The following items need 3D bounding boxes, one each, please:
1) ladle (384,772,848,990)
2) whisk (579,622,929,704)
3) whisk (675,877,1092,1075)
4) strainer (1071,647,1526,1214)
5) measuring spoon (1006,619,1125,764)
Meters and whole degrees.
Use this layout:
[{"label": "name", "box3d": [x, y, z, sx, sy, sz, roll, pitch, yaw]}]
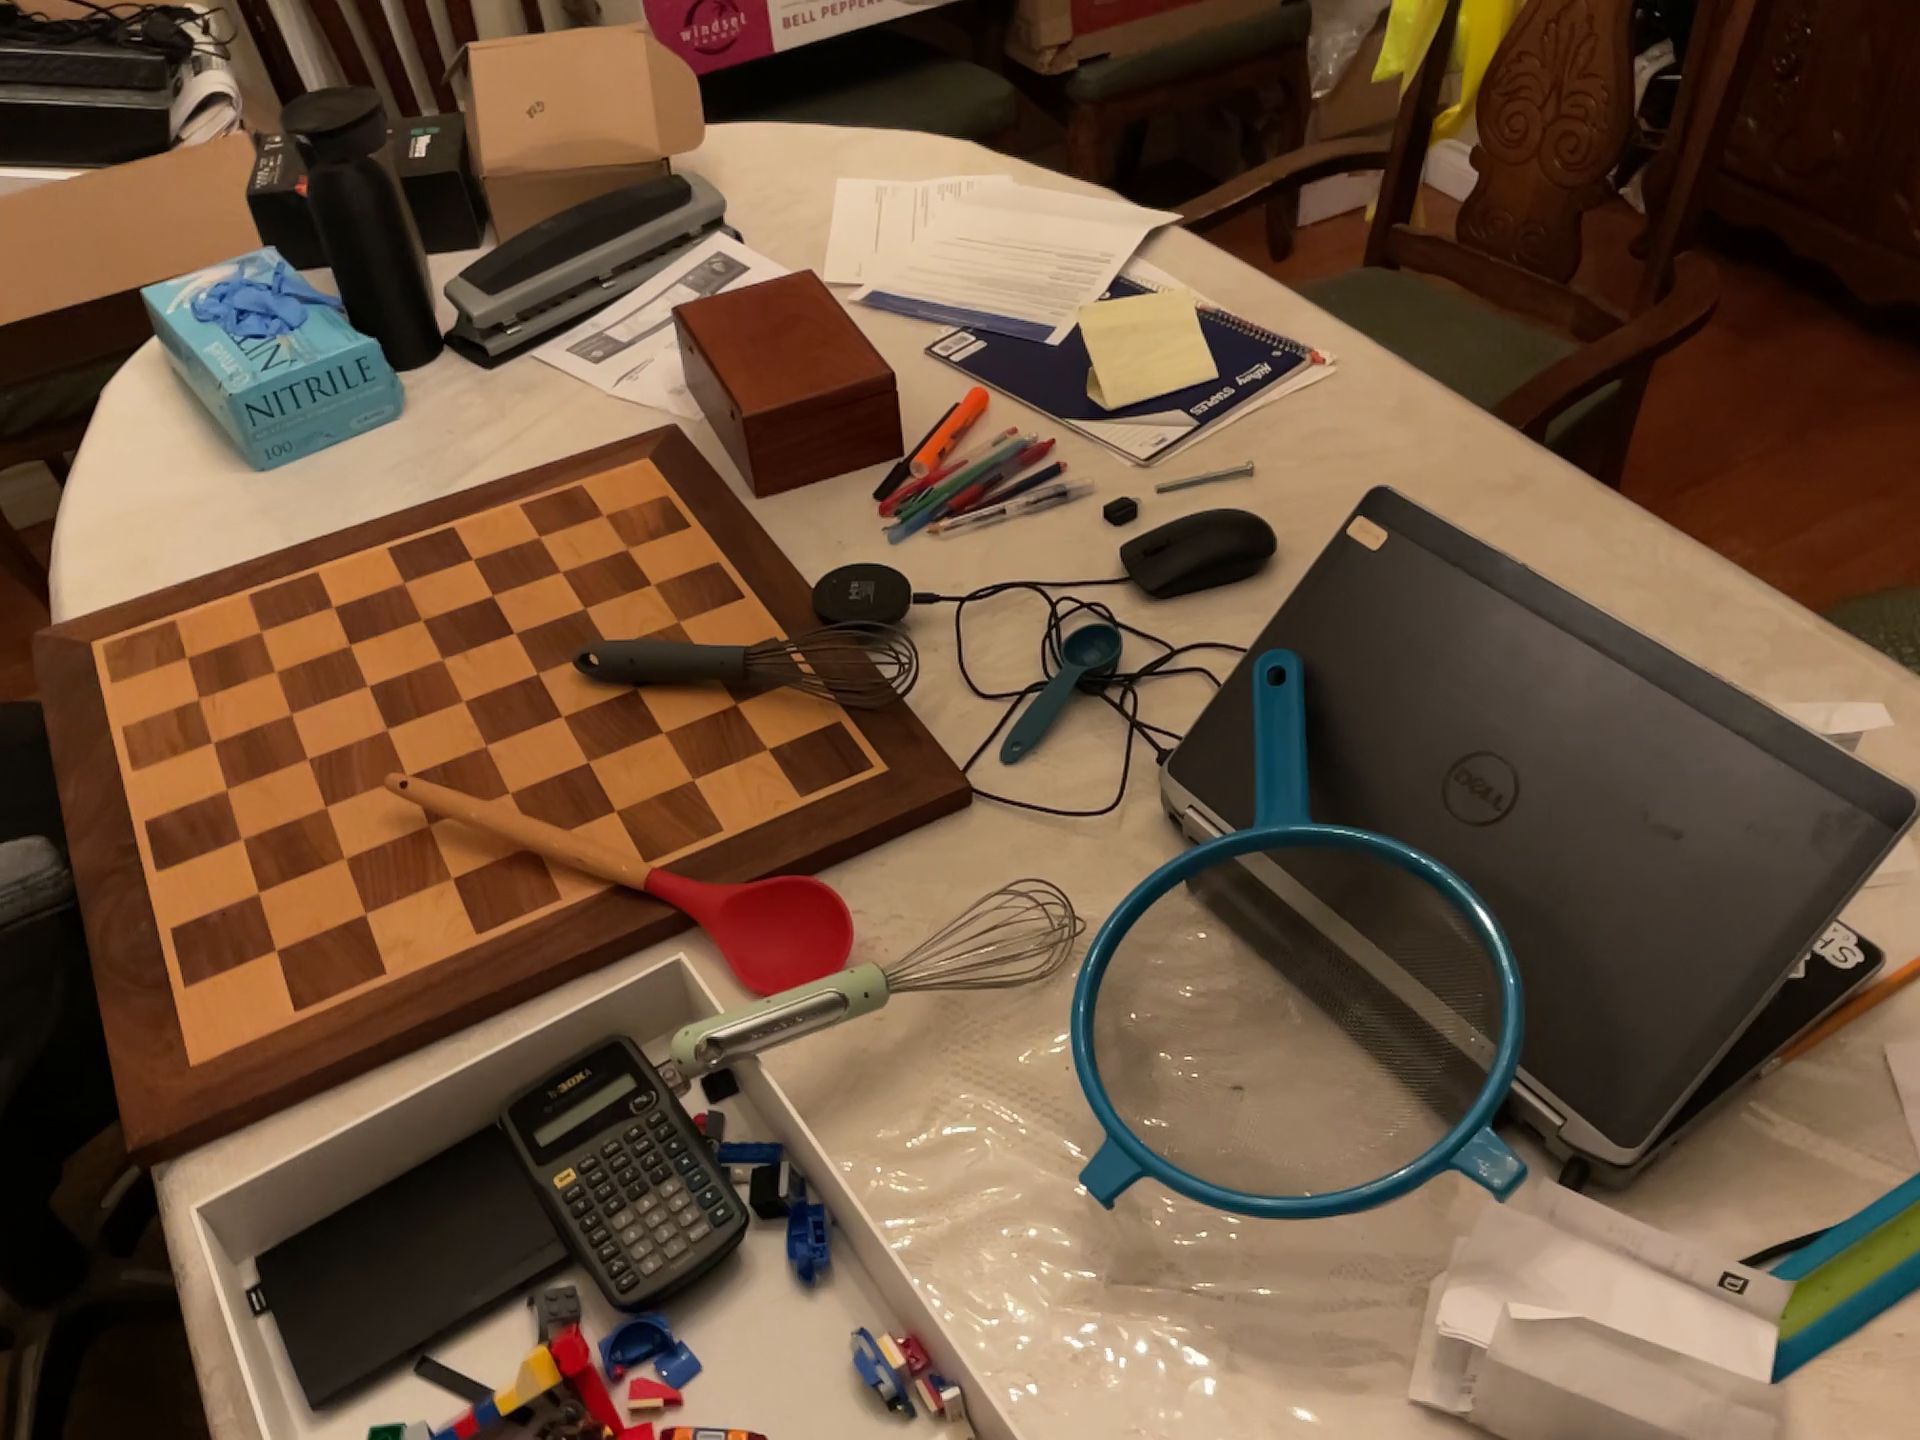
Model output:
[{"label": "ladle", "box3d": [-0.205, 0.084, 0.923, 0.315, 0.031, 0.069, 18, 69, 17]}, {"label": "whisk", "box3d": [-0.137, -0.037, 1.042, 0.239, 0.055, 0.055, 1, 29, 12]}, {"label": "whisk", "box3d": [-0.034, 0.136, 0.830, 0.246, 0.058, 0.059, -15, 11, -31]}, {"label": "strainer", "box3d": [0.174, 0.111, 0.823, 0.211, 0.095, 0.341, -7, 46, 17]}, {"label": "measuring spoon", "box3d": [0.068, -0.015, 1.038, 0.042, 0.021, 0.128, 18, 59, 33]}]
